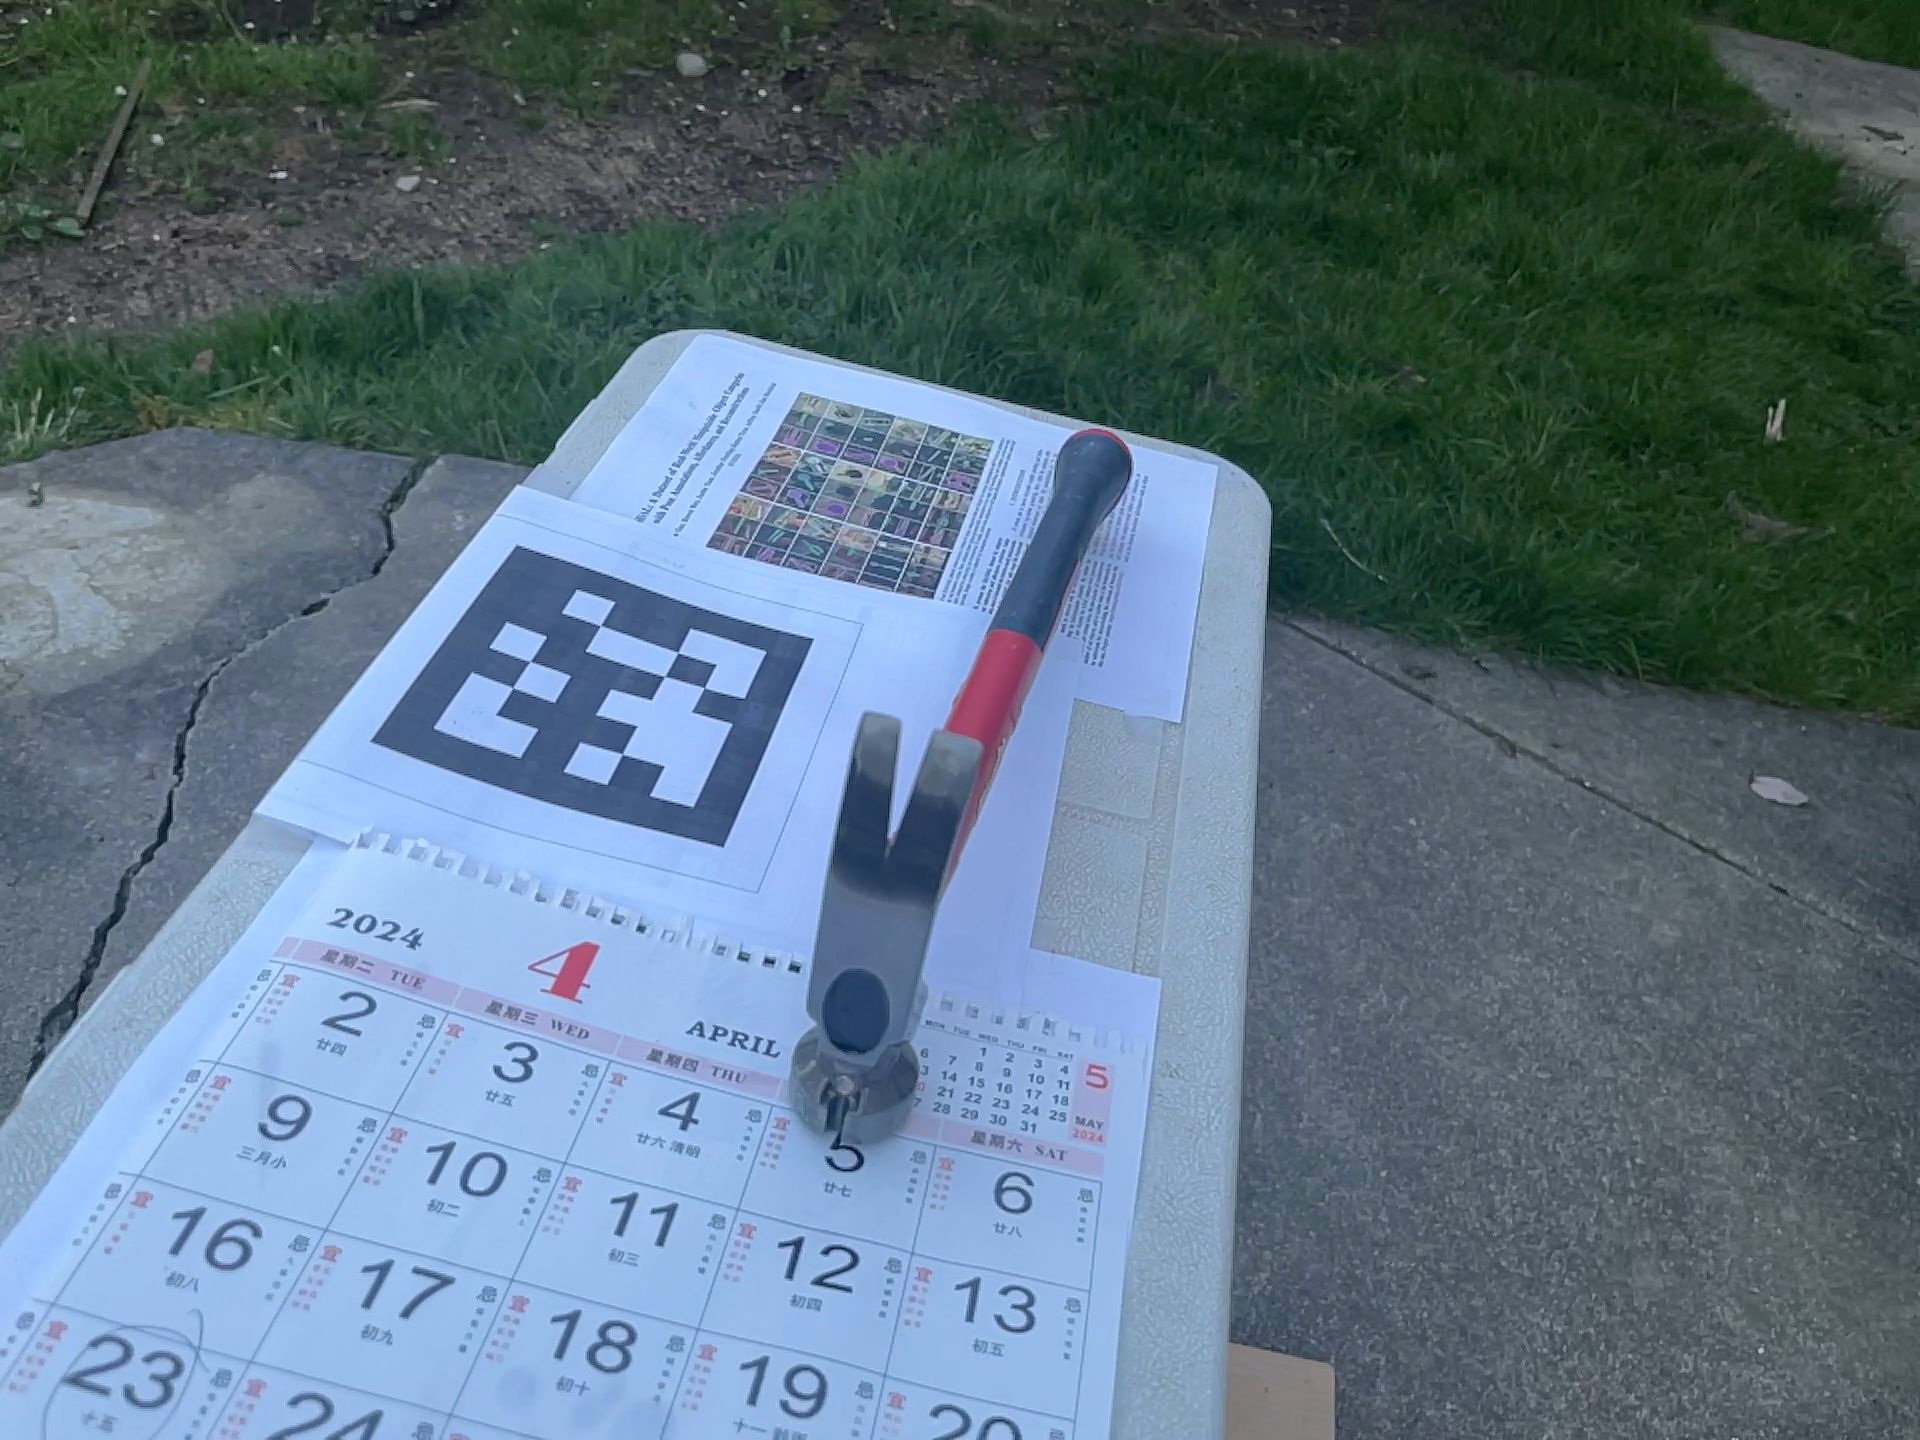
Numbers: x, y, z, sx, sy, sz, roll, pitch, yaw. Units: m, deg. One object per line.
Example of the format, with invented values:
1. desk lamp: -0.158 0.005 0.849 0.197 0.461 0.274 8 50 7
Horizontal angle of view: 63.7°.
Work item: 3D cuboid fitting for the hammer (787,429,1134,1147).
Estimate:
1. hammer: 0.021 -0.035 0.565 0.038 0.143 0.387 17 35 6
